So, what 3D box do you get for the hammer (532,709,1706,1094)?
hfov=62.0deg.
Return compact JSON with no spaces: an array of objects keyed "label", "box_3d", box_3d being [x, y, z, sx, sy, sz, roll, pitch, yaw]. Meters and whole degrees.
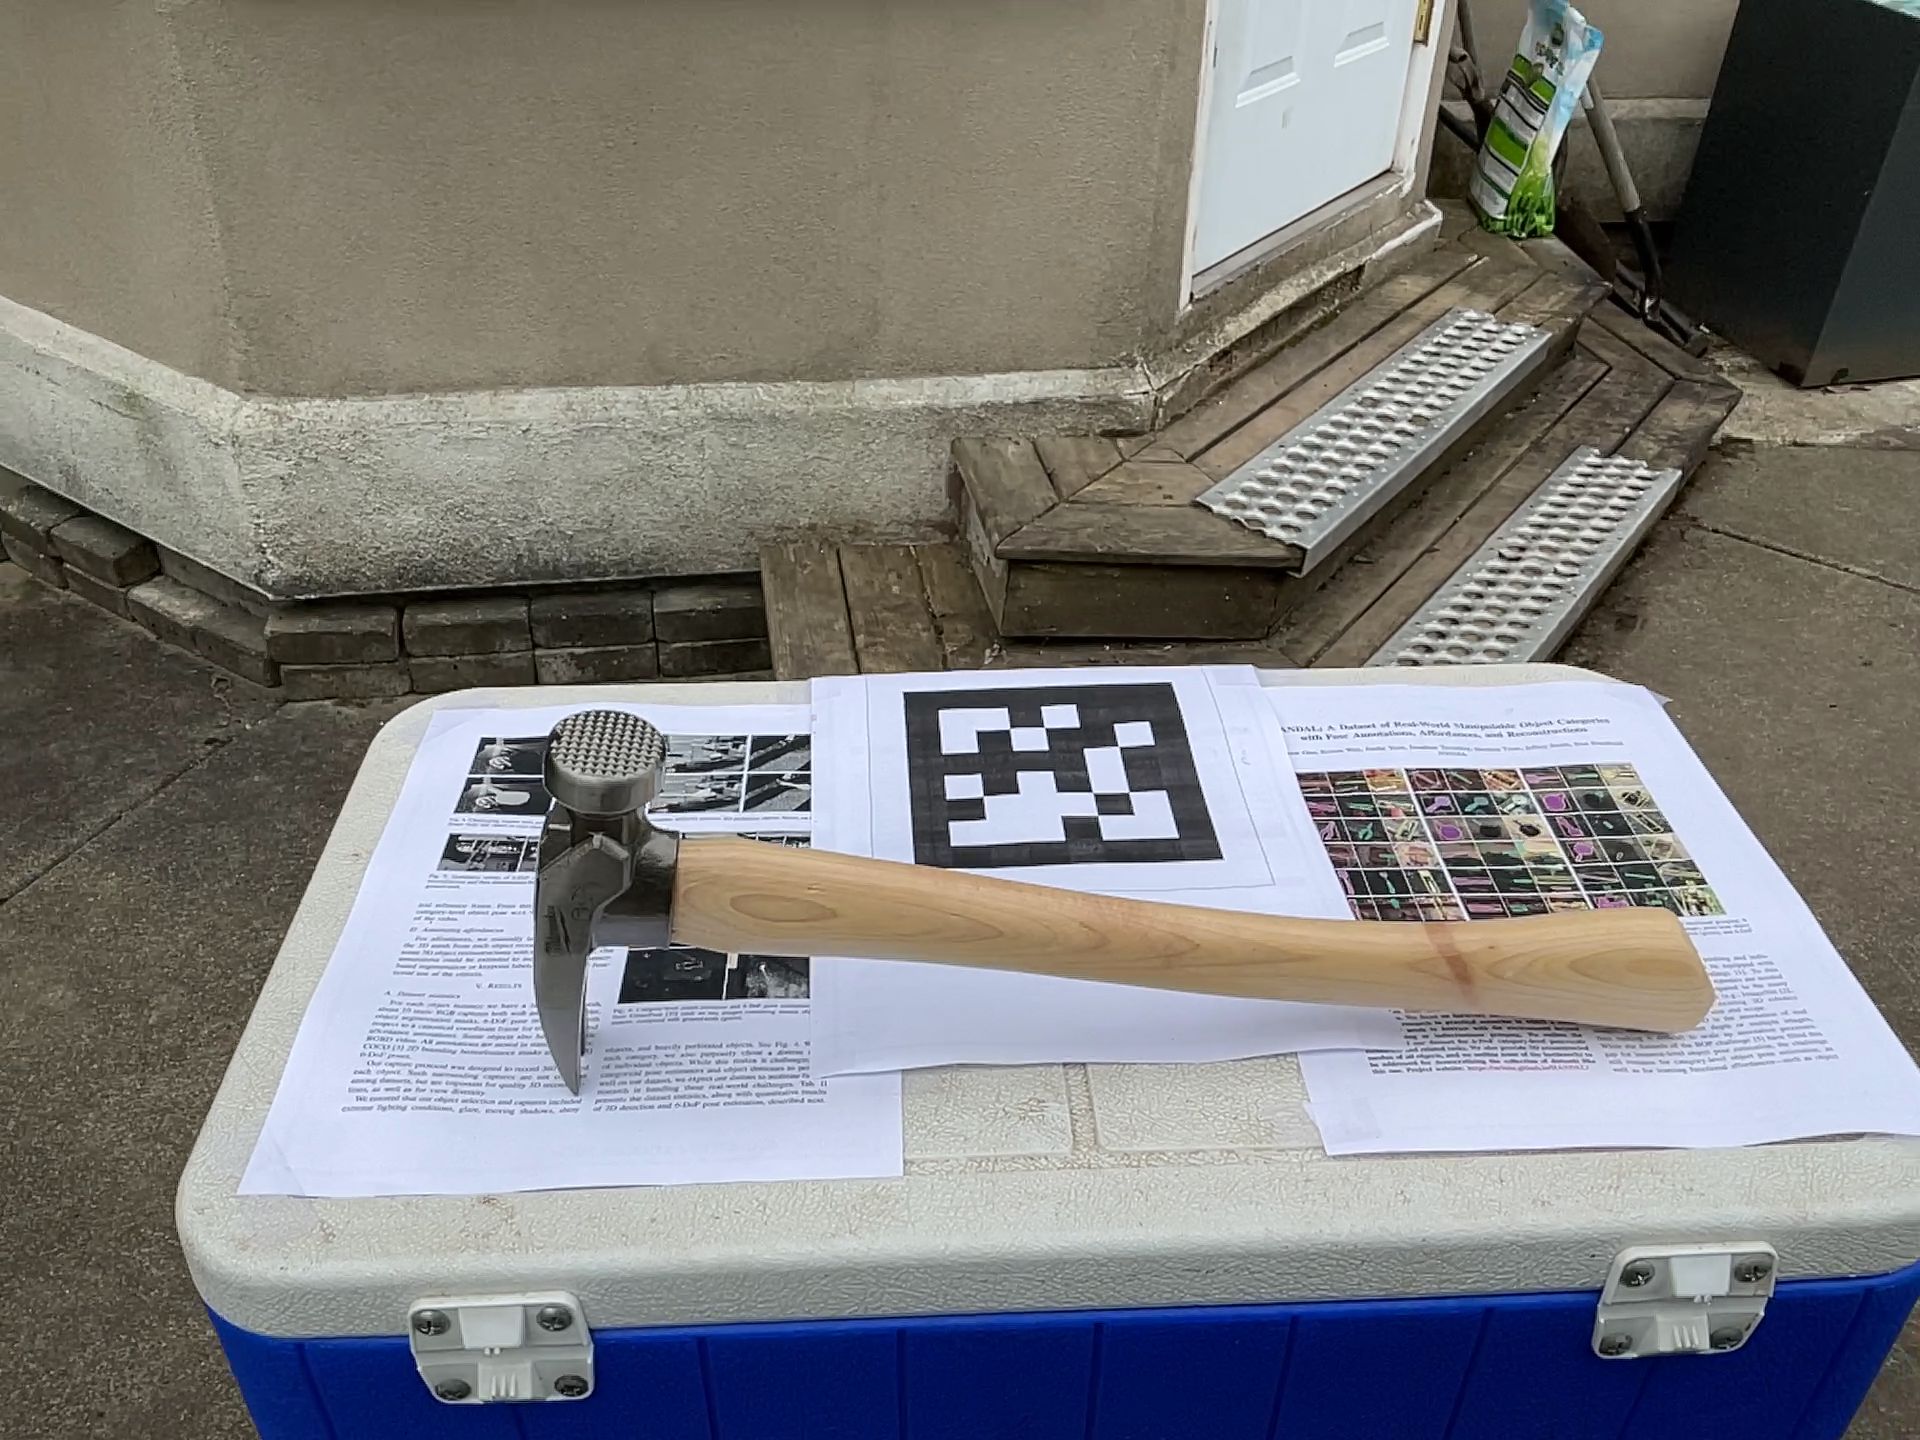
[{"label":"hammer","box_3d":[0.060,0.085,0.564,0.410,0.146,0.038,7,34,-8]}]
